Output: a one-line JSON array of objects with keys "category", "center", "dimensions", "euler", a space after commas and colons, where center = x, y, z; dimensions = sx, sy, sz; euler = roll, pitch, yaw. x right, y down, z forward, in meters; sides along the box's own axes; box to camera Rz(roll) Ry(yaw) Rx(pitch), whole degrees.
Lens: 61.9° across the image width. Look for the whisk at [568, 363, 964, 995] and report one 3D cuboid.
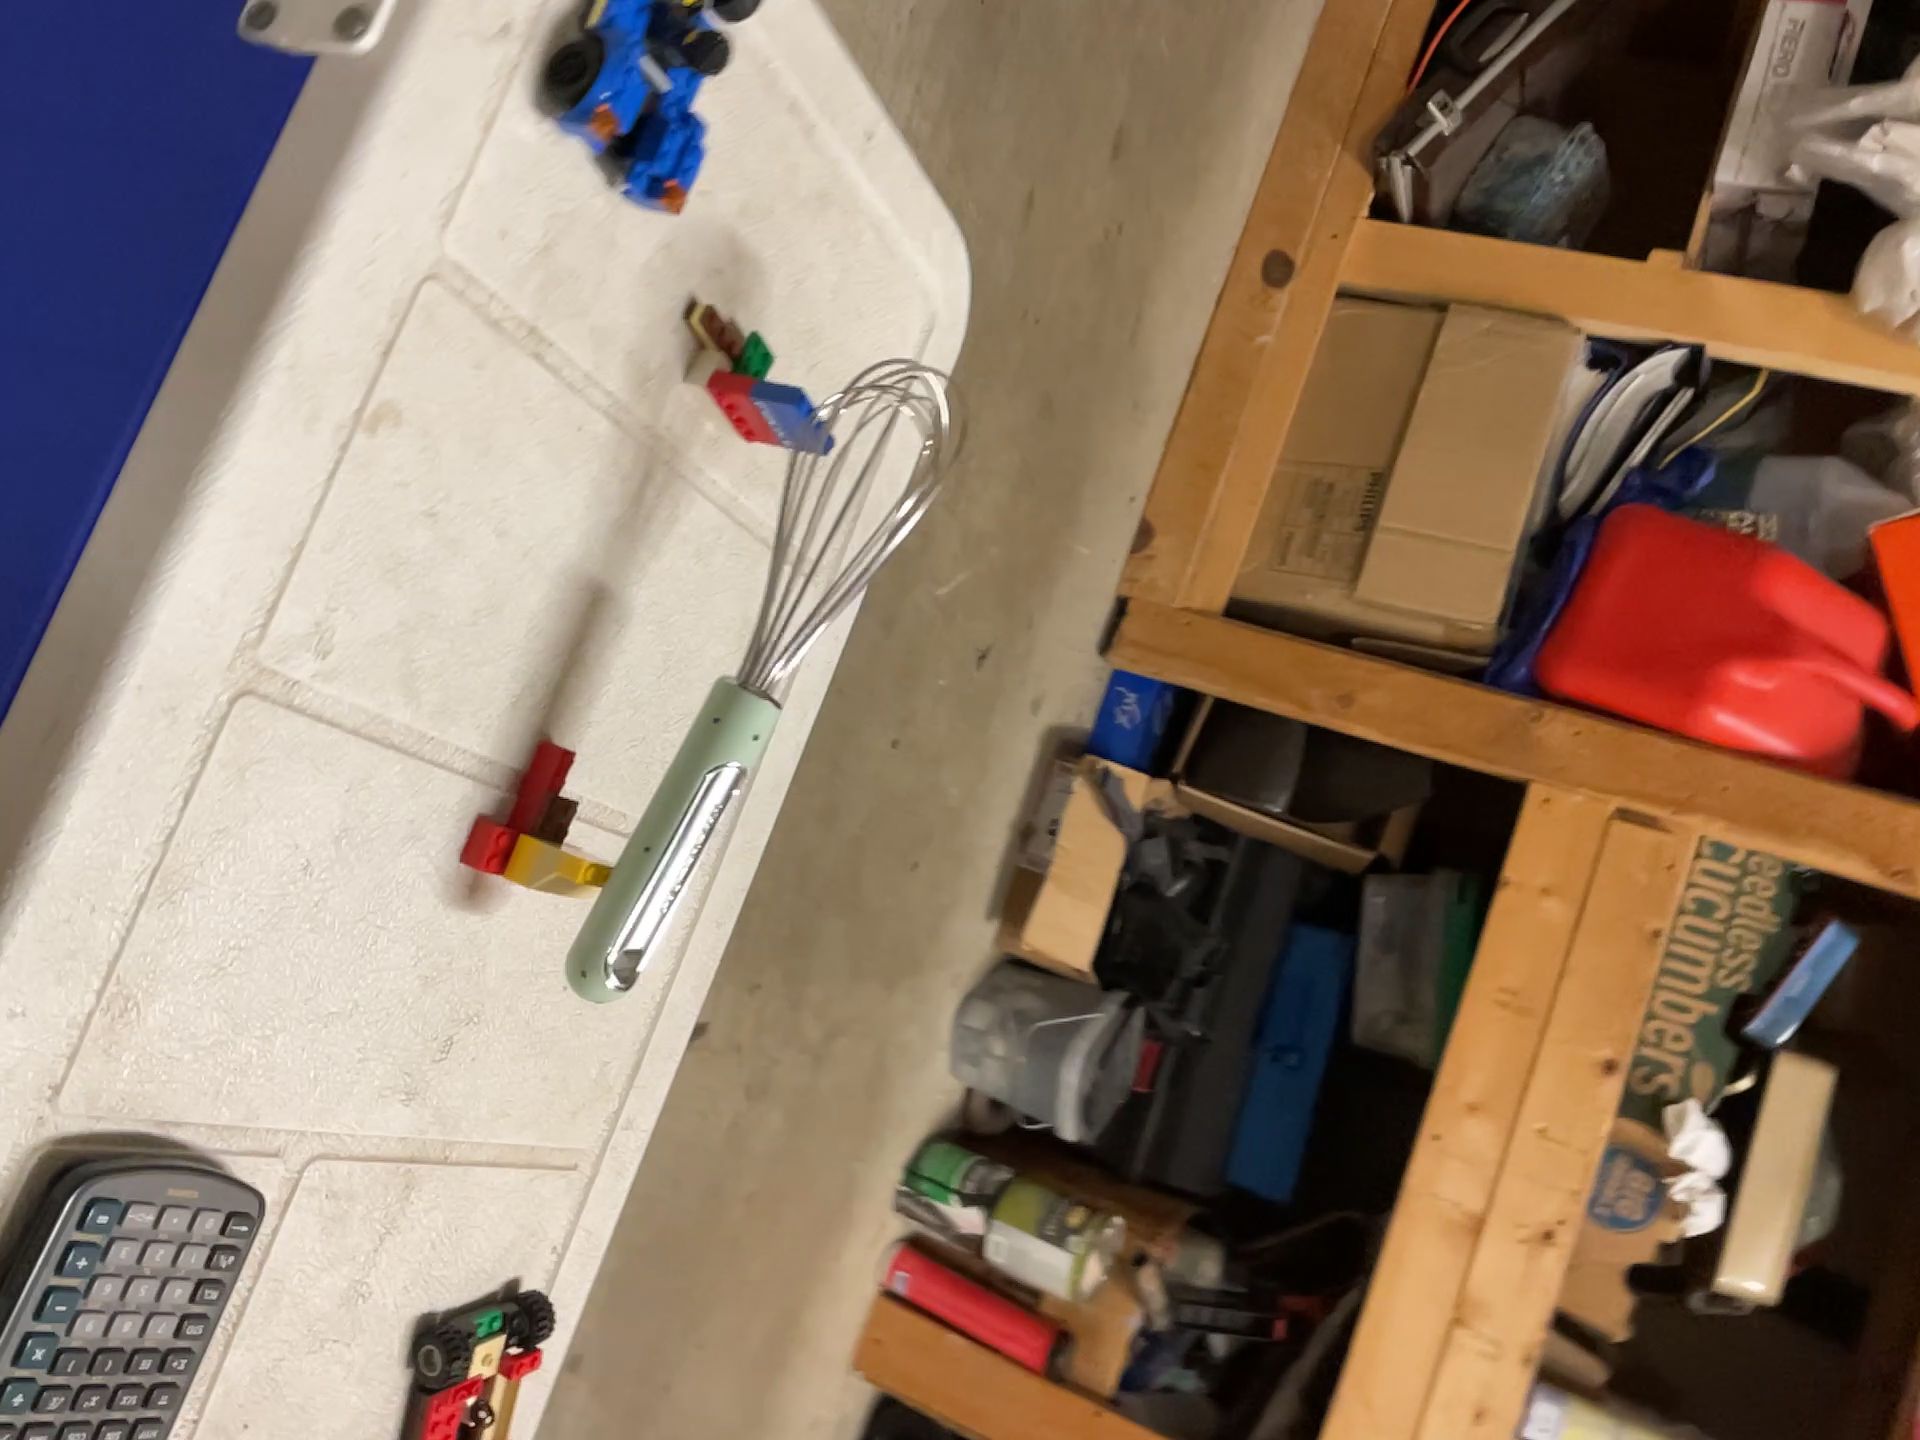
[{"category": "whisk", "center": [-0.069, -0.017, 0.555], "dimensions": [0.246, 0.059, 0.057], "euler": [-62, 147, -7]}]
